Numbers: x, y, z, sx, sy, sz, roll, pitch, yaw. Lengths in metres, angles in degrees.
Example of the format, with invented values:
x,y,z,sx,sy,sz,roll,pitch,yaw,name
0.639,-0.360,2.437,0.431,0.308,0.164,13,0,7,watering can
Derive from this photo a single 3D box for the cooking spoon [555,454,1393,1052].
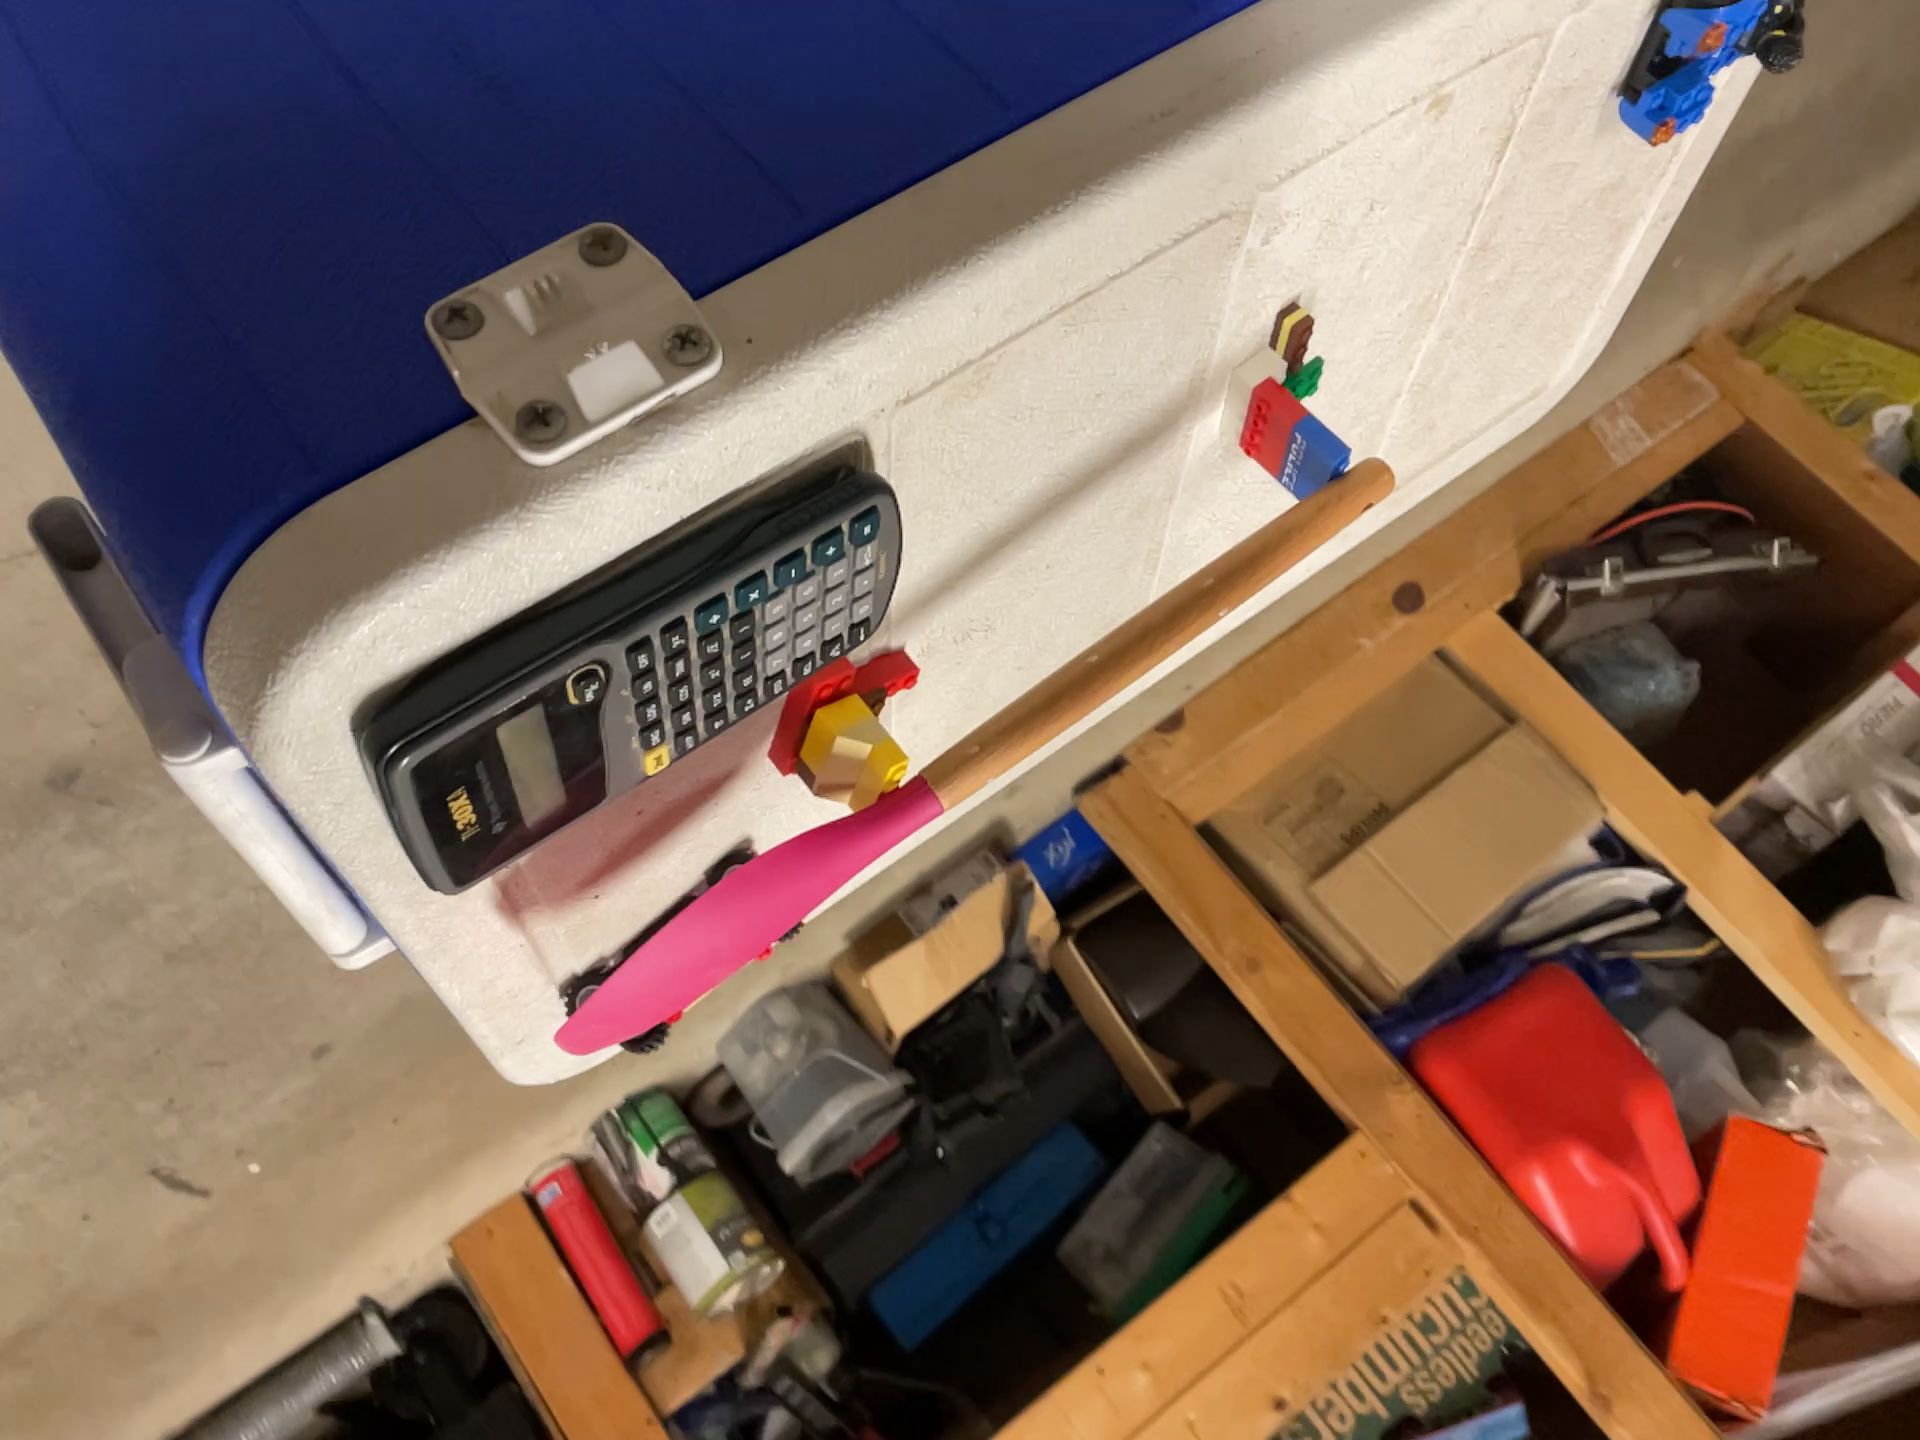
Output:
x,y,z,sx,sy,sz,roll,pitch,yaw,name
0.012,0.007,0.502,0.319,0.017,0.068,-36,163,-10,cooking spoon
